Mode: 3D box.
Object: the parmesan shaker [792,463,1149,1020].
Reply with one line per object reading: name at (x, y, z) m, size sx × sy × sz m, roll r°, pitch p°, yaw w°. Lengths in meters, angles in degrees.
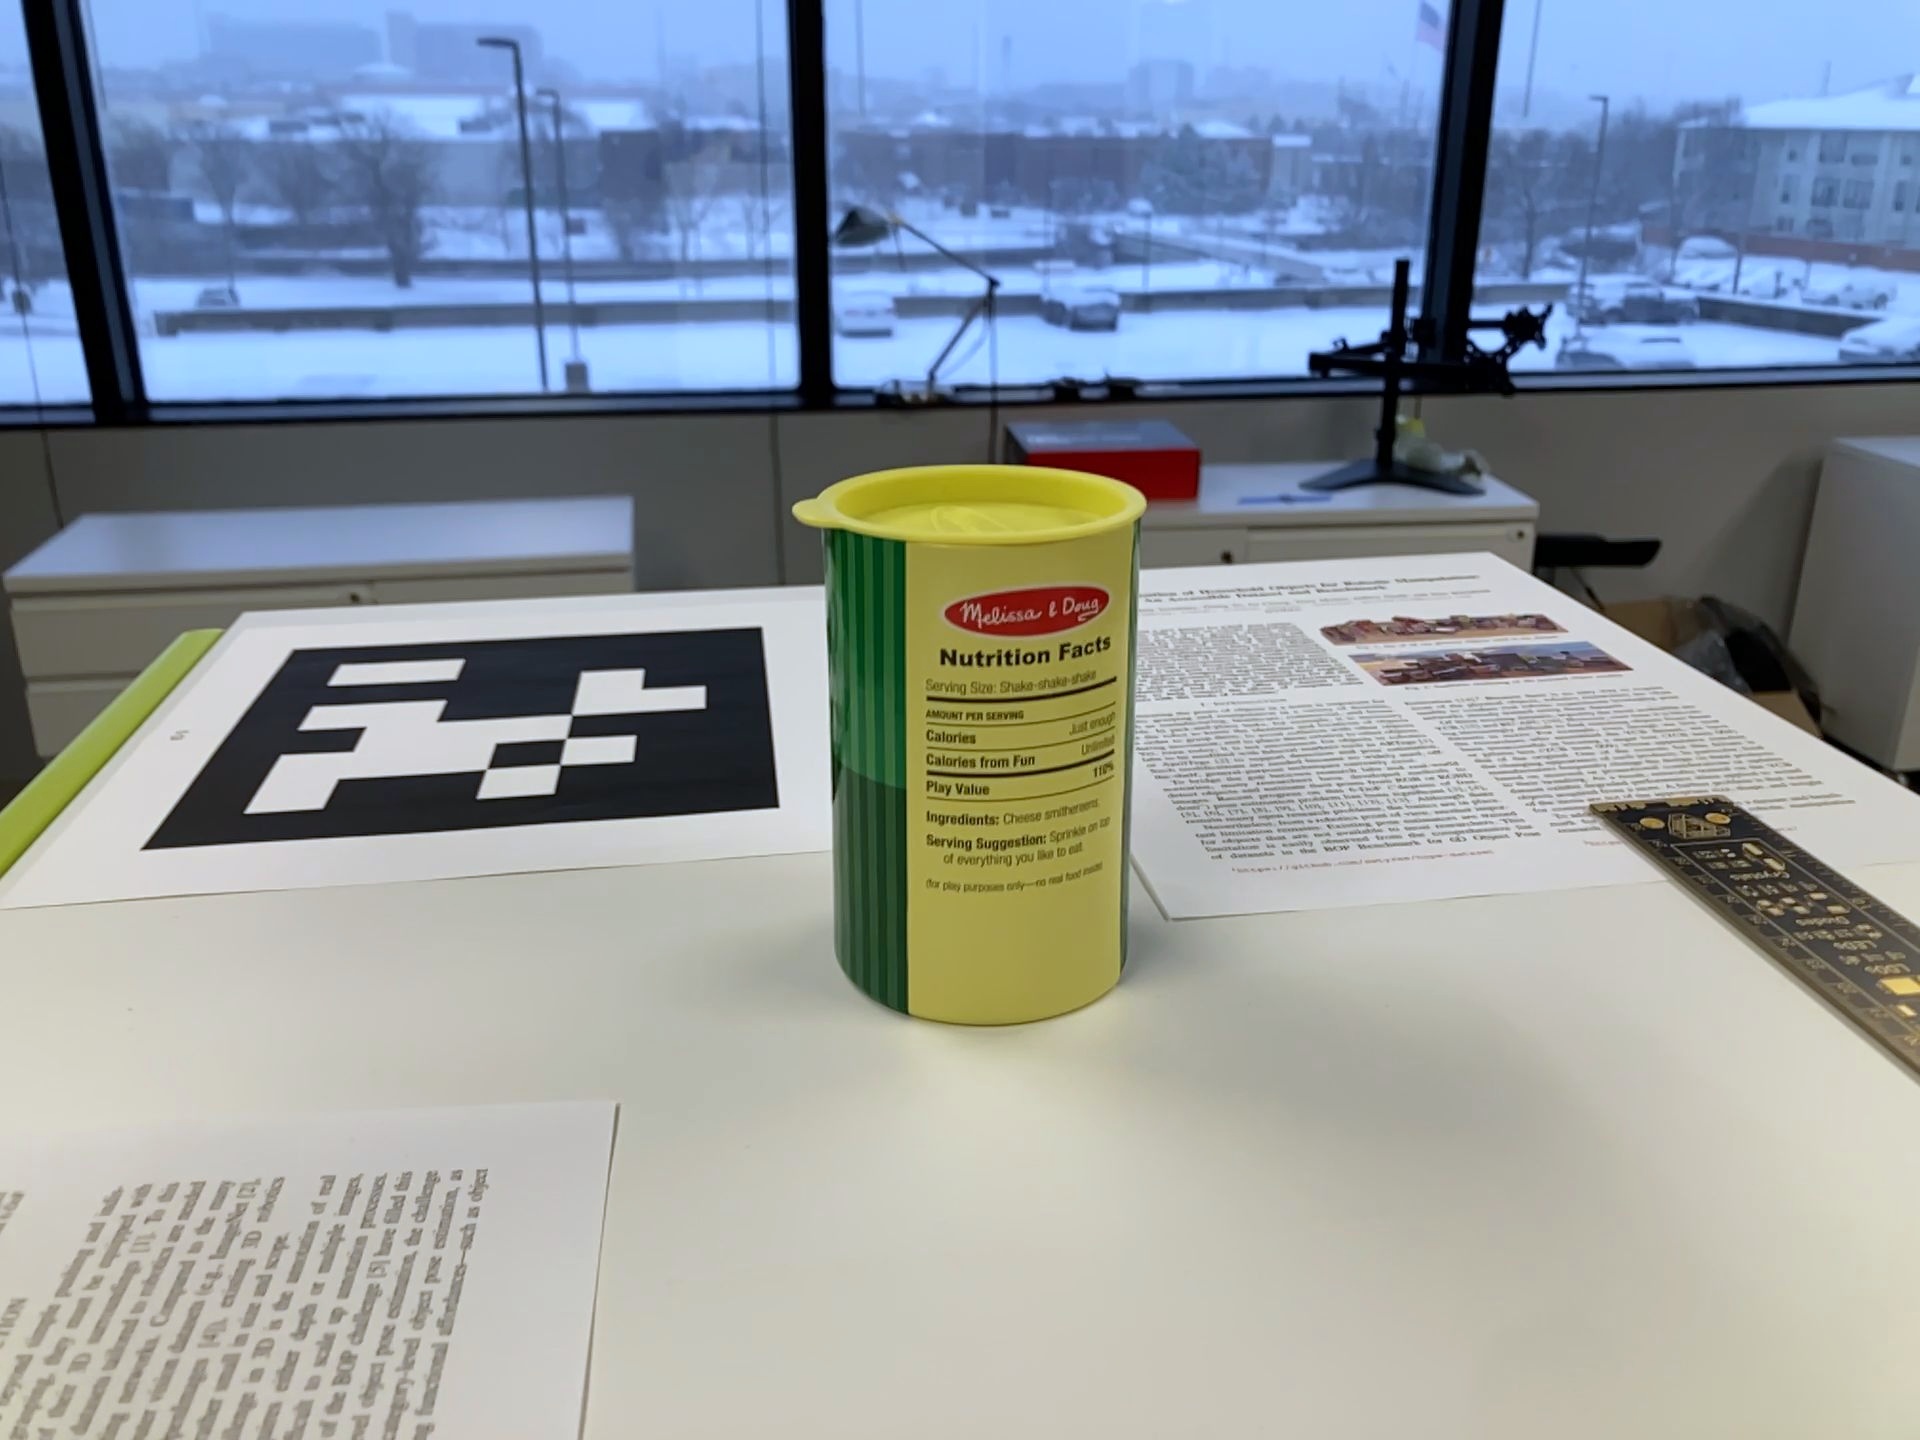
parmesan shaker at (0.002, 0.002, 0.335) m, size 0.071 × 0.103 × 0.071 m, roll 0°, pitch 20°, yaw 0°
